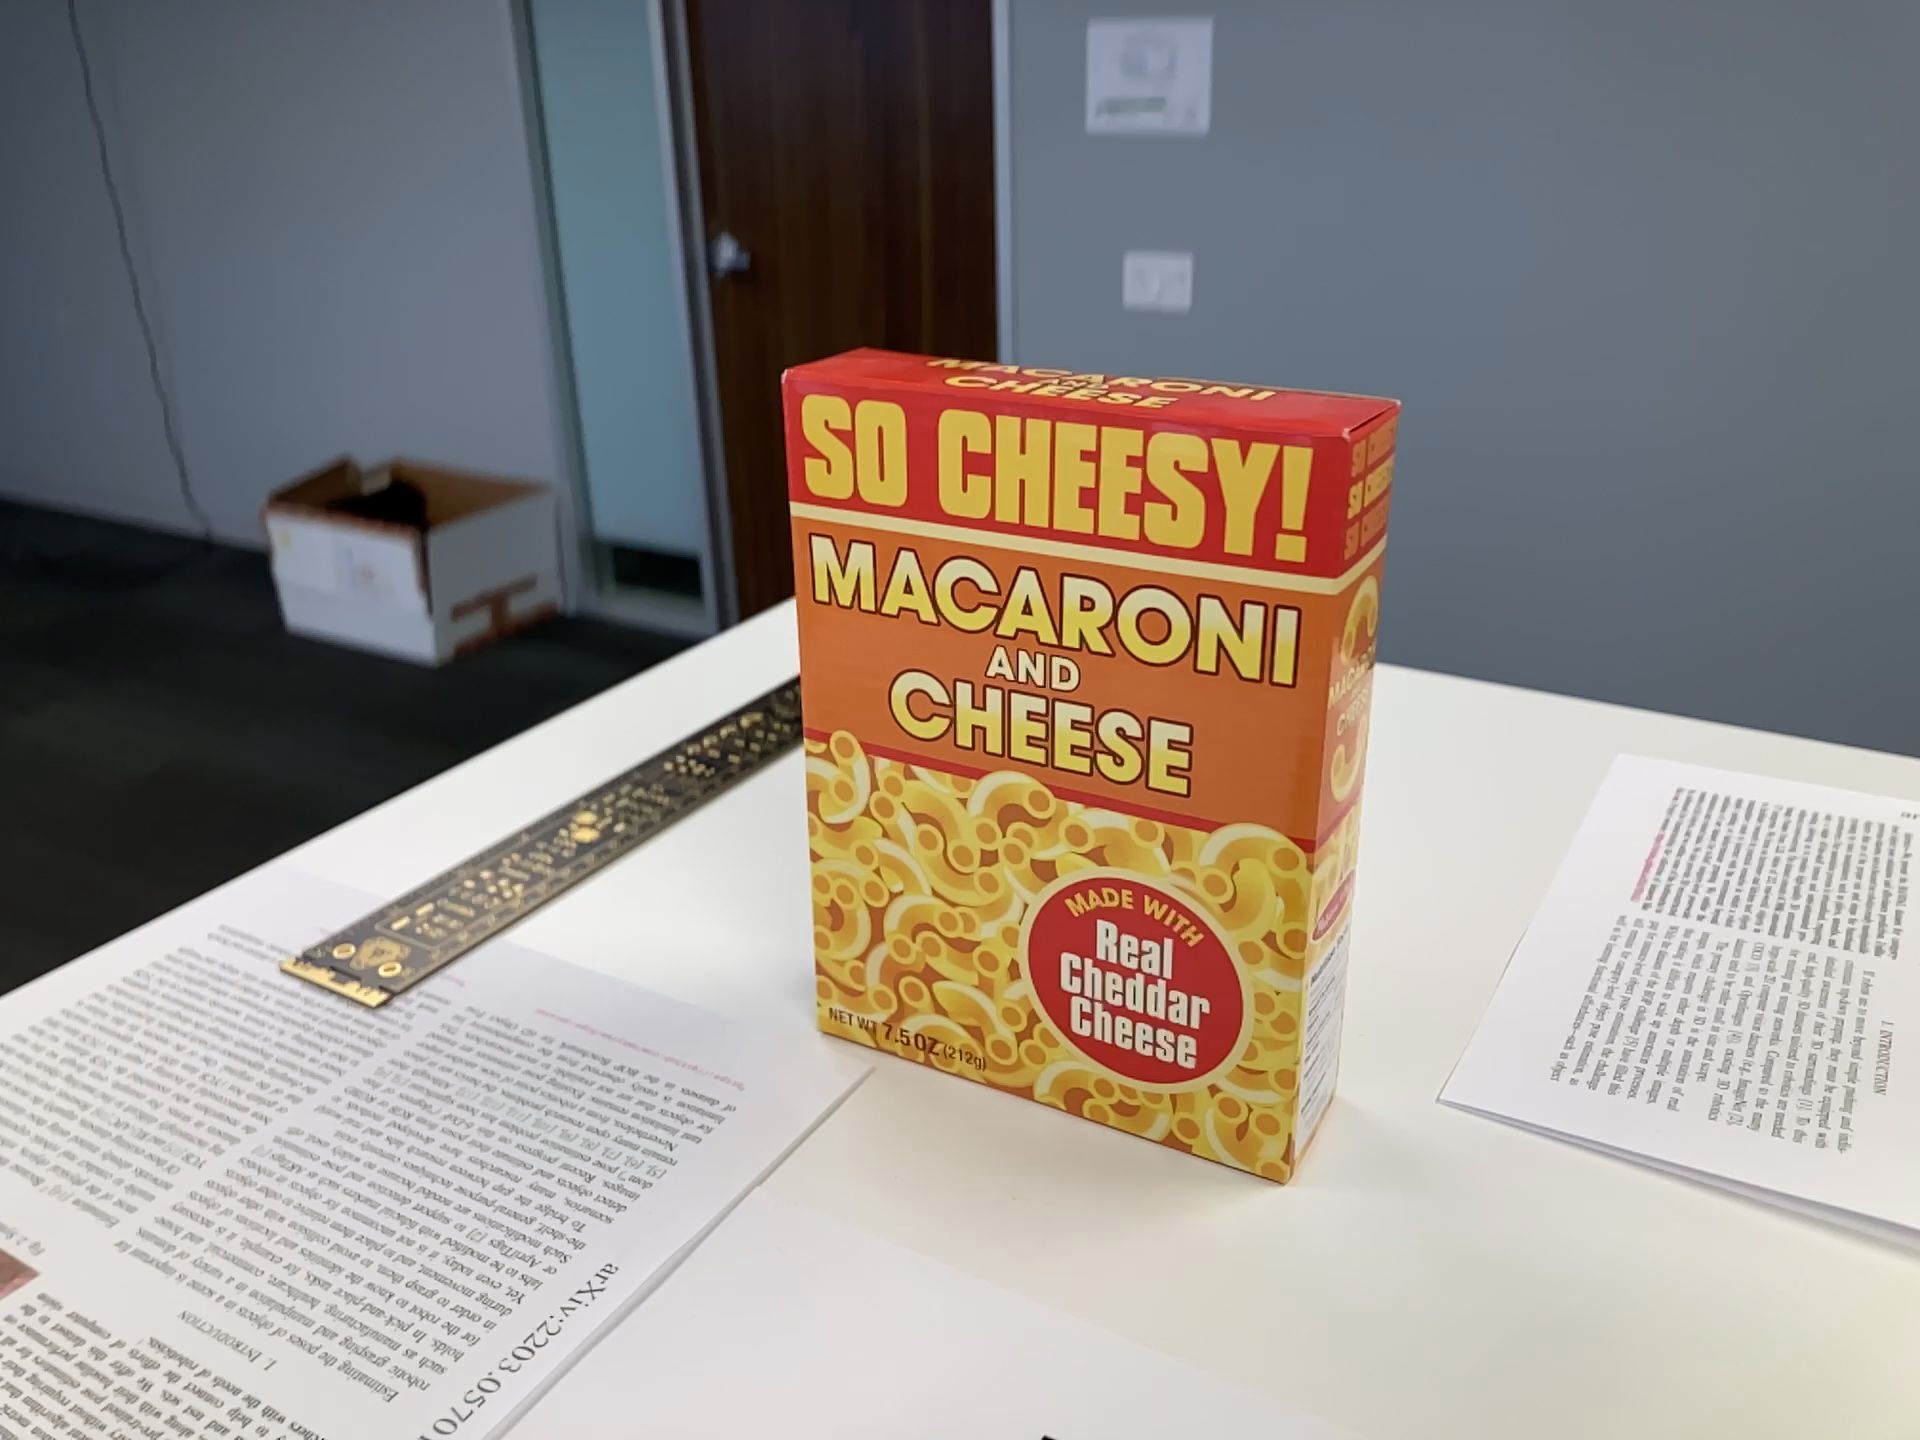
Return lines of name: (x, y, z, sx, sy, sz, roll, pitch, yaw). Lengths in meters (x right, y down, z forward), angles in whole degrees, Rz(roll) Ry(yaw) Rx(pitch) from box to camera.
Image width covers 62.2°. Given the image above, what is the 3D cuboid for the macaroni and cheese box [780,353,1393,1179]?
macaroni and cheese box: (0.024, 0.007, 0.357, 0.124, 0.166, 0.040, 11, 26, 26)
